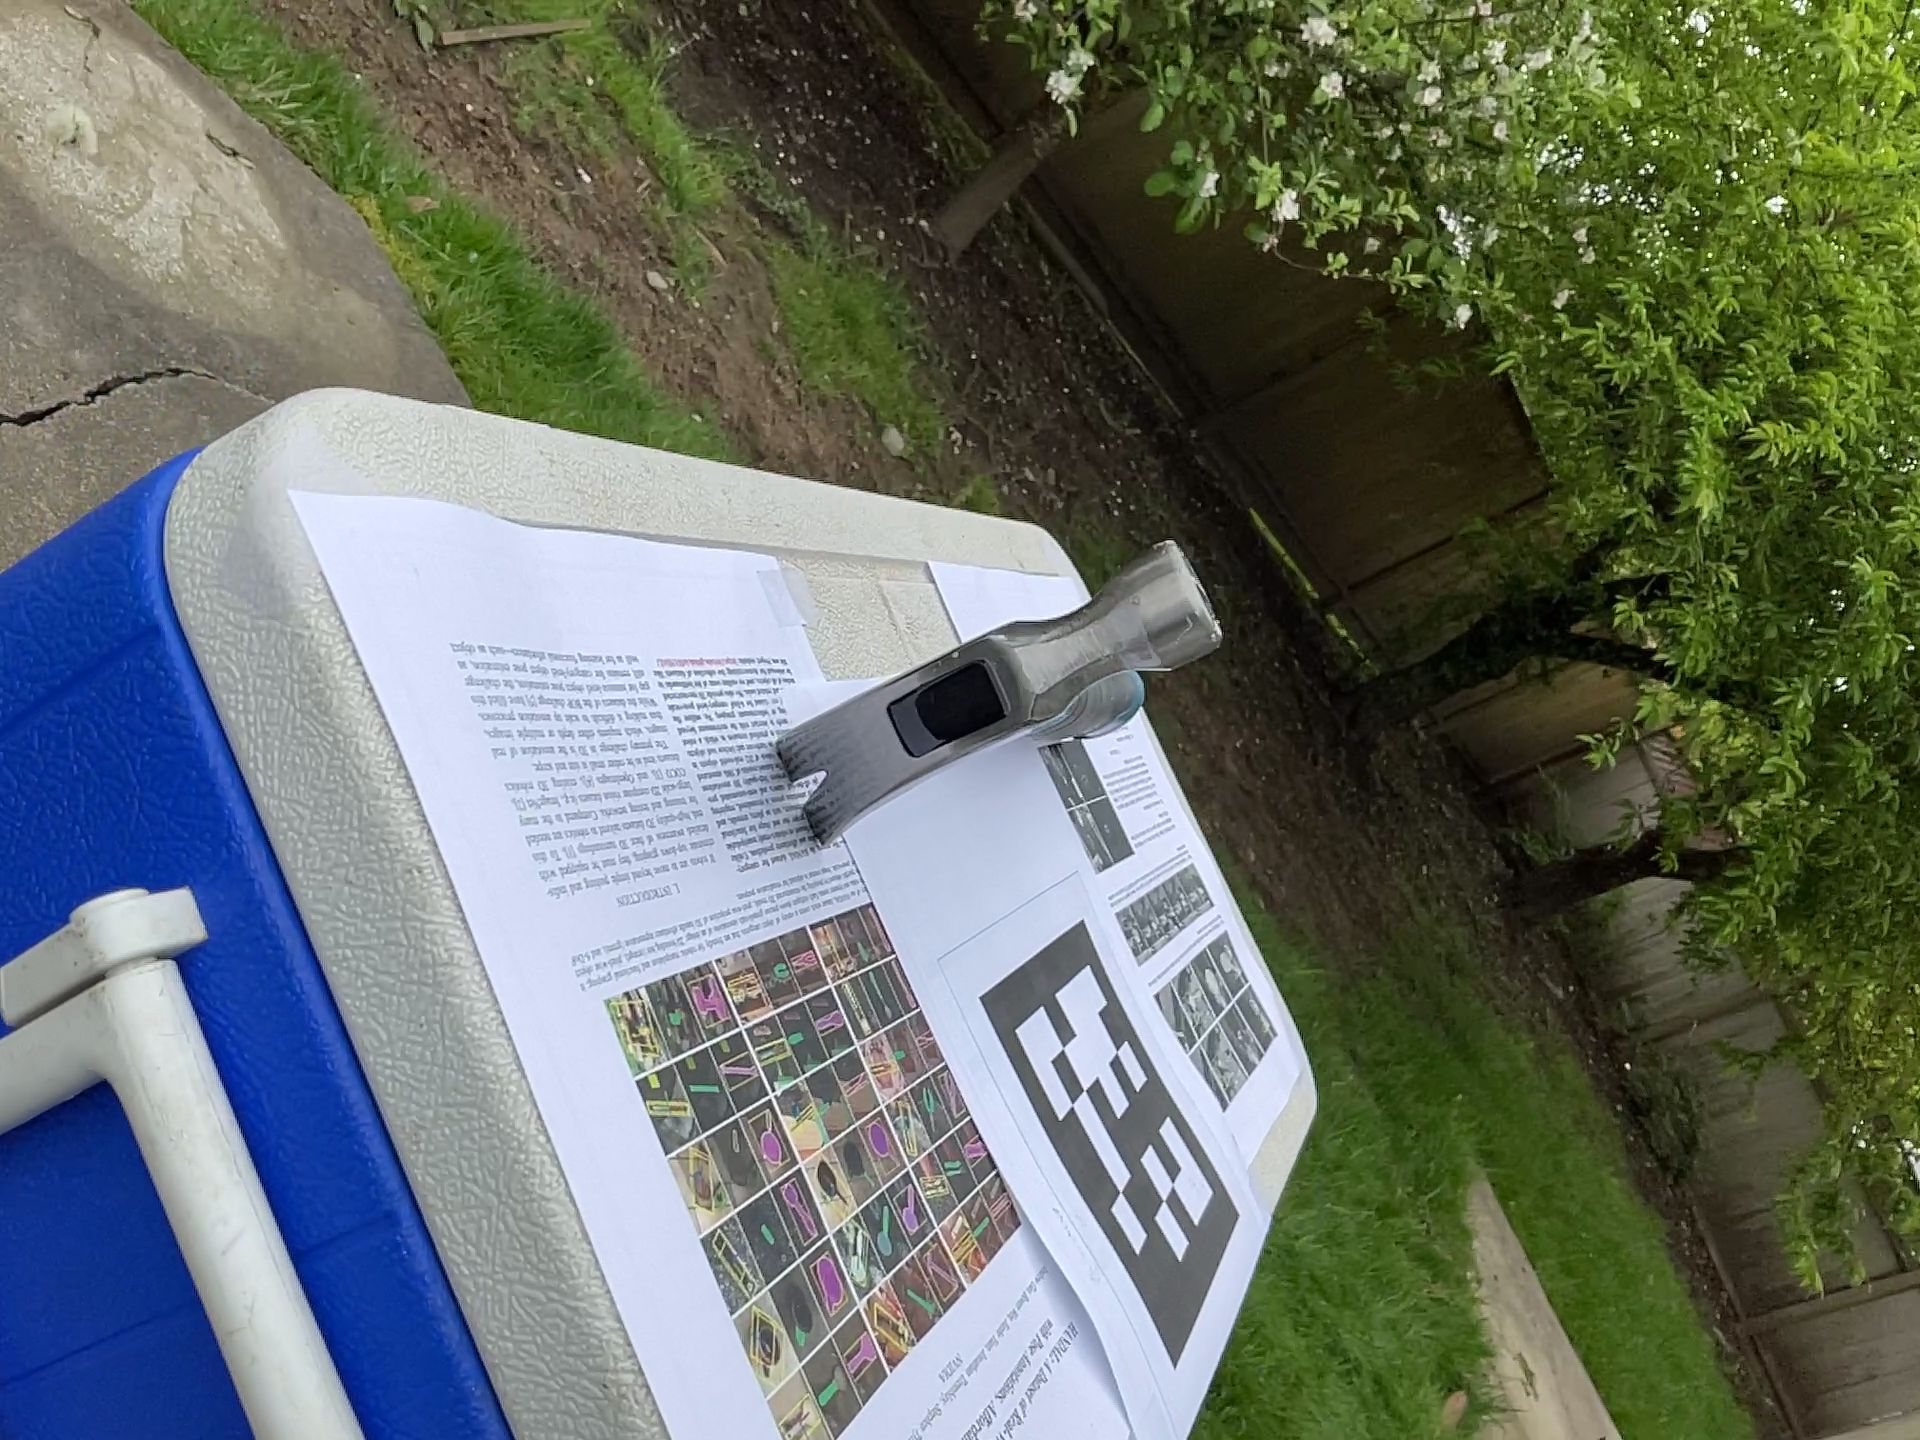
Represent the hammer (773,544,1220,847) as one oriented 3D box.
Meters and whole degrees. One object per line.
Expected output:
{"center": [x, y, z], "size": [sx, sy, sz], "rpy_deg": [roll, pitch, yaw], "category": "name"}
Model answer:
{"center": [0.030, -0.006, 0.550], "size": [0.033, 0.128, 0.331], "rpy_deg": [66, 10, 4], "category": "hammer"}
